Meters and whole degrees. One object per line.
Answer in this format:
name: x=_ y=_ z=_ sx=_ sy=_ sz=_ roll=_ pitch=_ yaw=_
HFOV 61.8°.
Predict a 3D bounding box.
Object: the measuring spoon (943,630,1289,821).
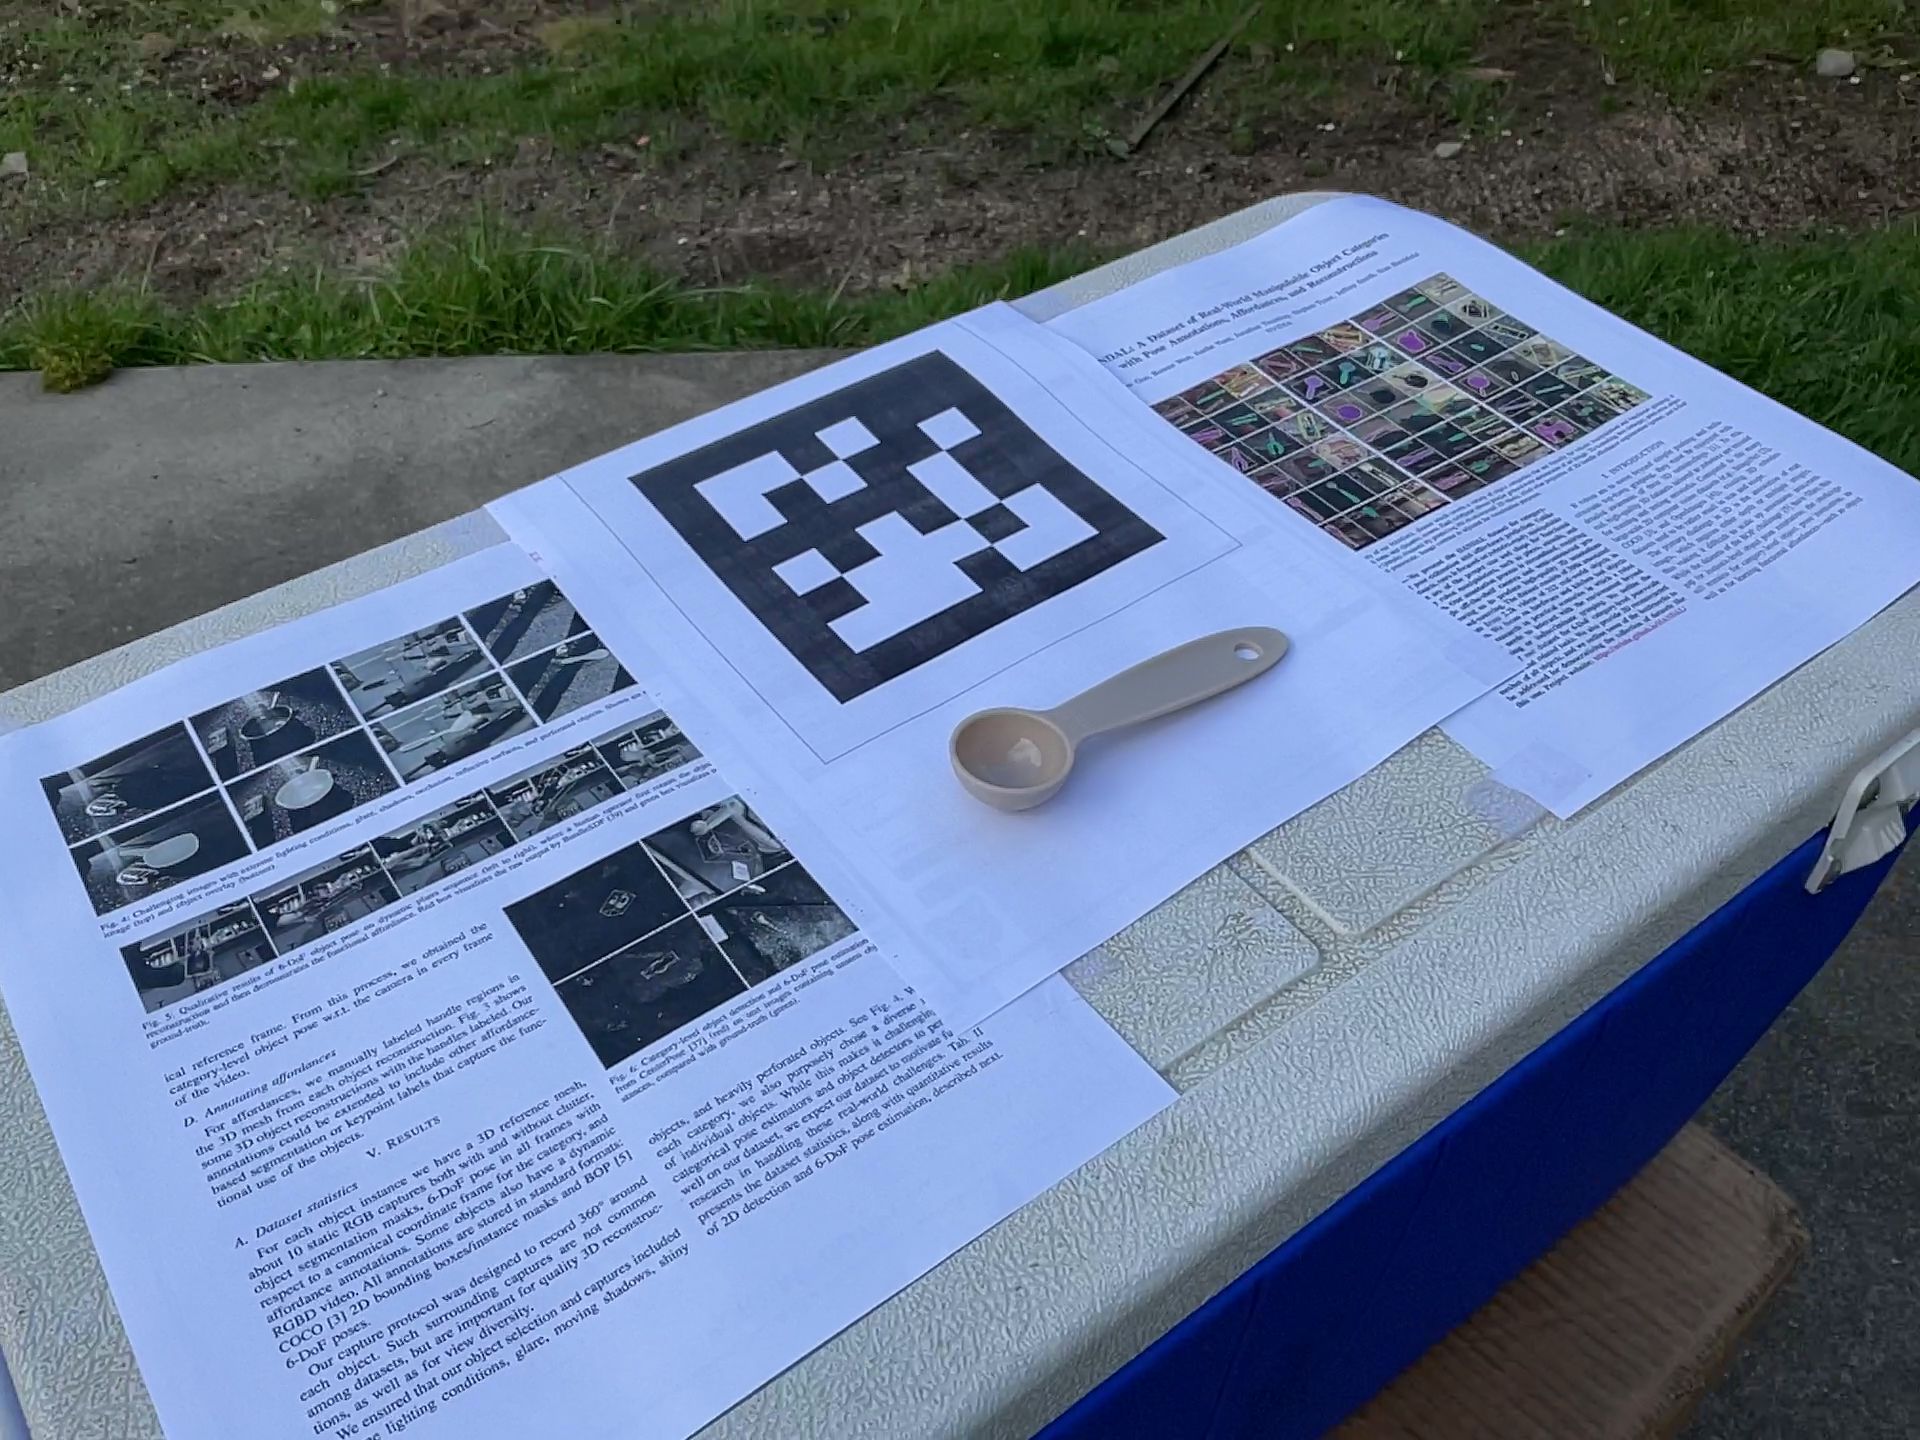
measuring spoon: x=0.048 y=0.001 z=0.454 sx=0.124 sy=0.018 sz=0.034 roll=-23 pitch=48 yaw=-31
